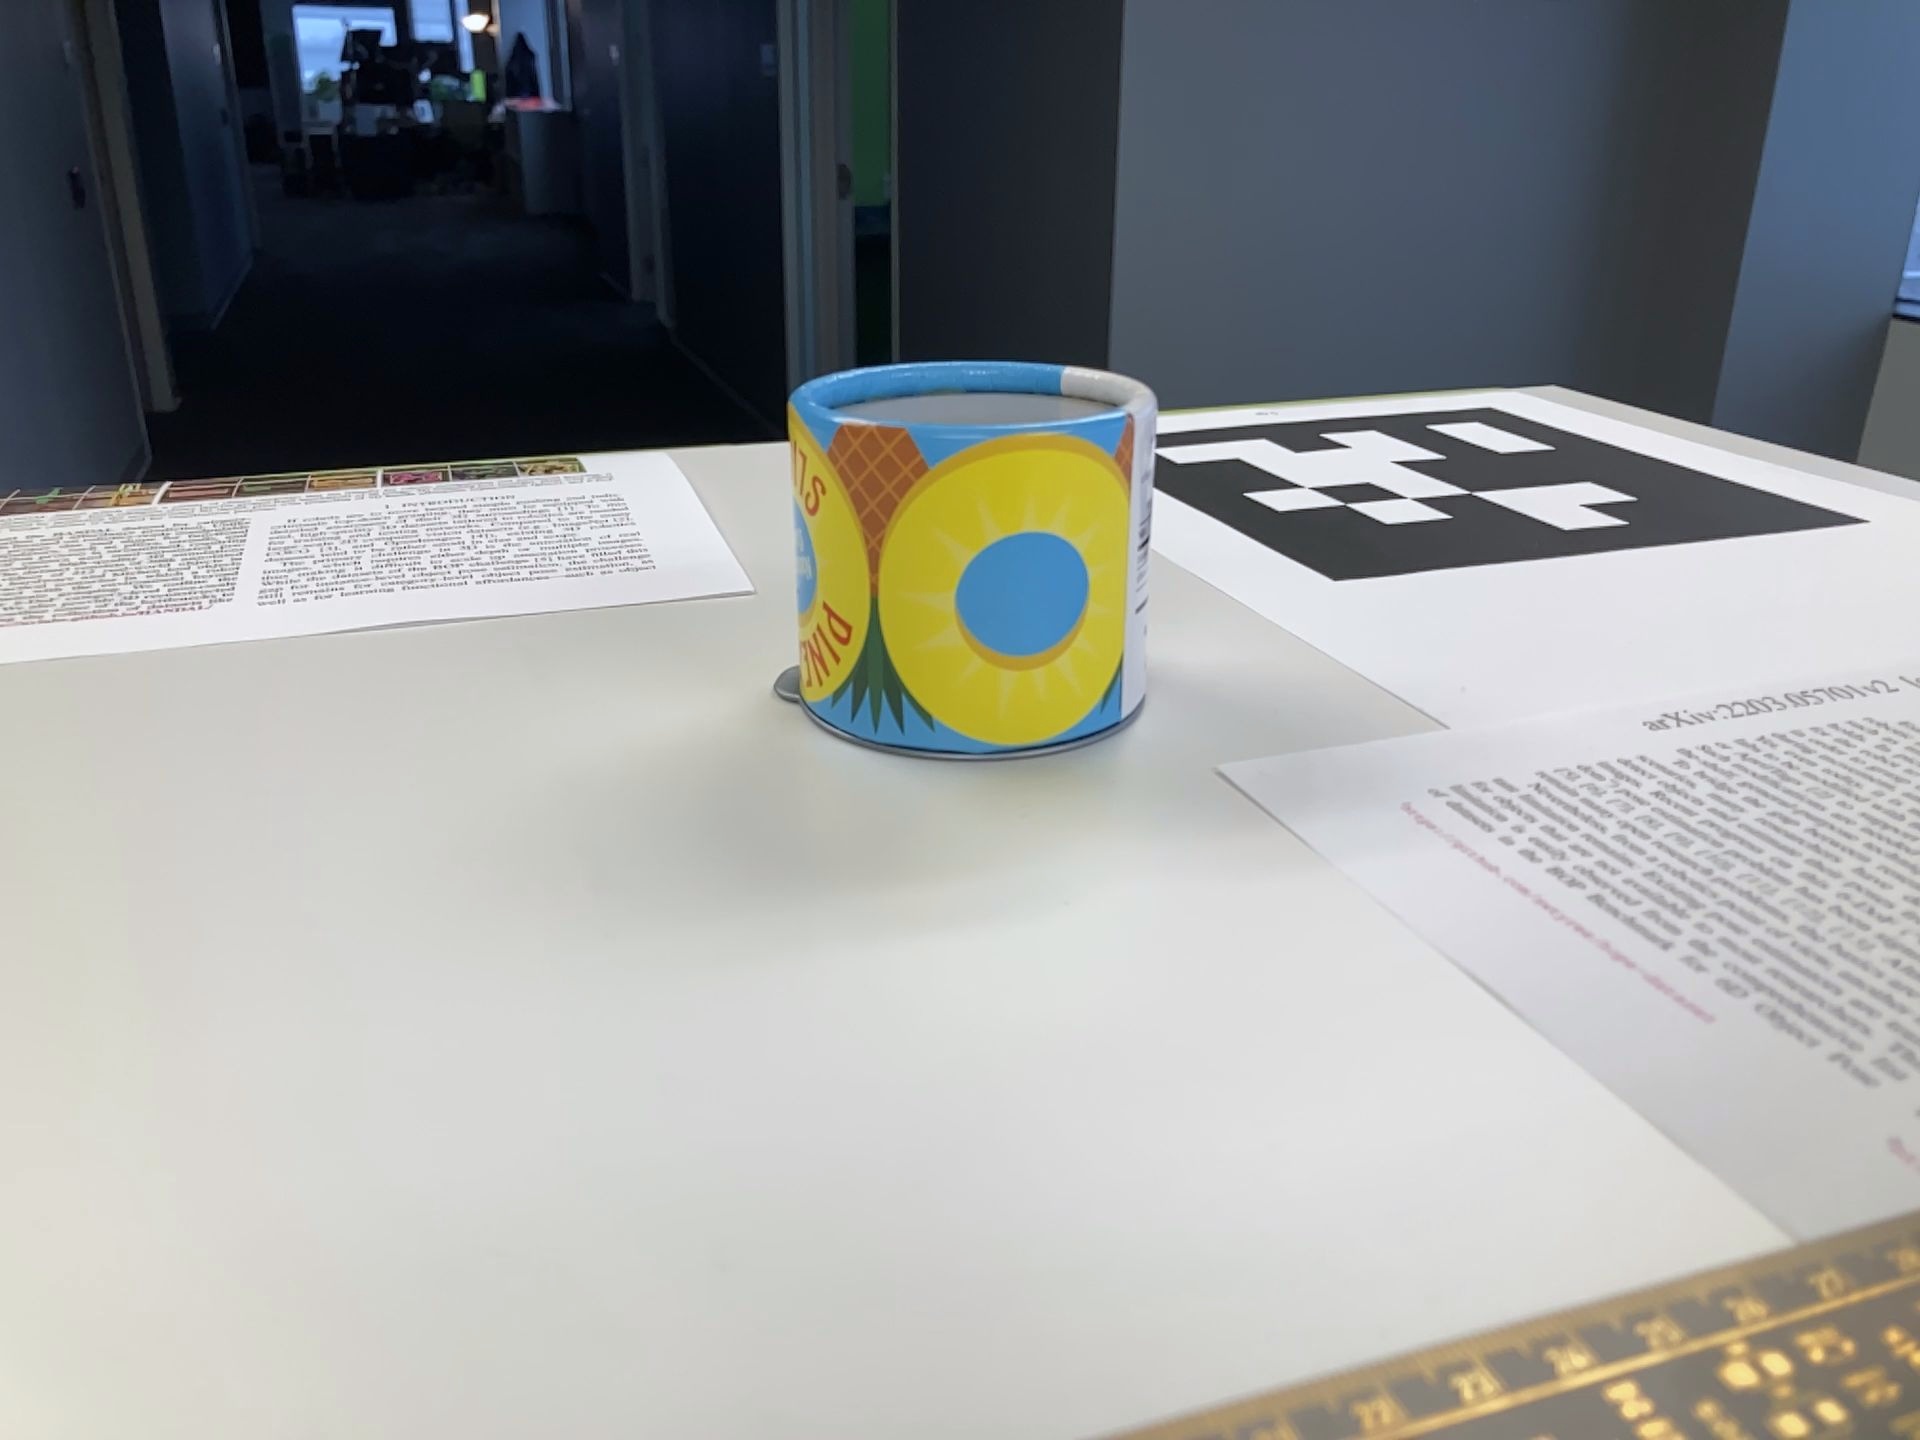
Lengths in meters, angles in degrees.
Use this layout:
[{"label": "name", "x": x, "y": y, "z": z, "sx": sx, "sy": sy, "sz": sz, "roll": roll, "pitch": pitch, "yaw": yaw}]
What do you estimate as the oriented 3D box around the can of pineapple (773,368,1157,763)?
[{"label": "can of pineapple", "x": 0.000, "y": -0.031, "z": 0.291, "sx": 0.071, "sy": 0.058, "sz": 0.071, "roll": 0, "pitch": 21, "yaw": 0}]
